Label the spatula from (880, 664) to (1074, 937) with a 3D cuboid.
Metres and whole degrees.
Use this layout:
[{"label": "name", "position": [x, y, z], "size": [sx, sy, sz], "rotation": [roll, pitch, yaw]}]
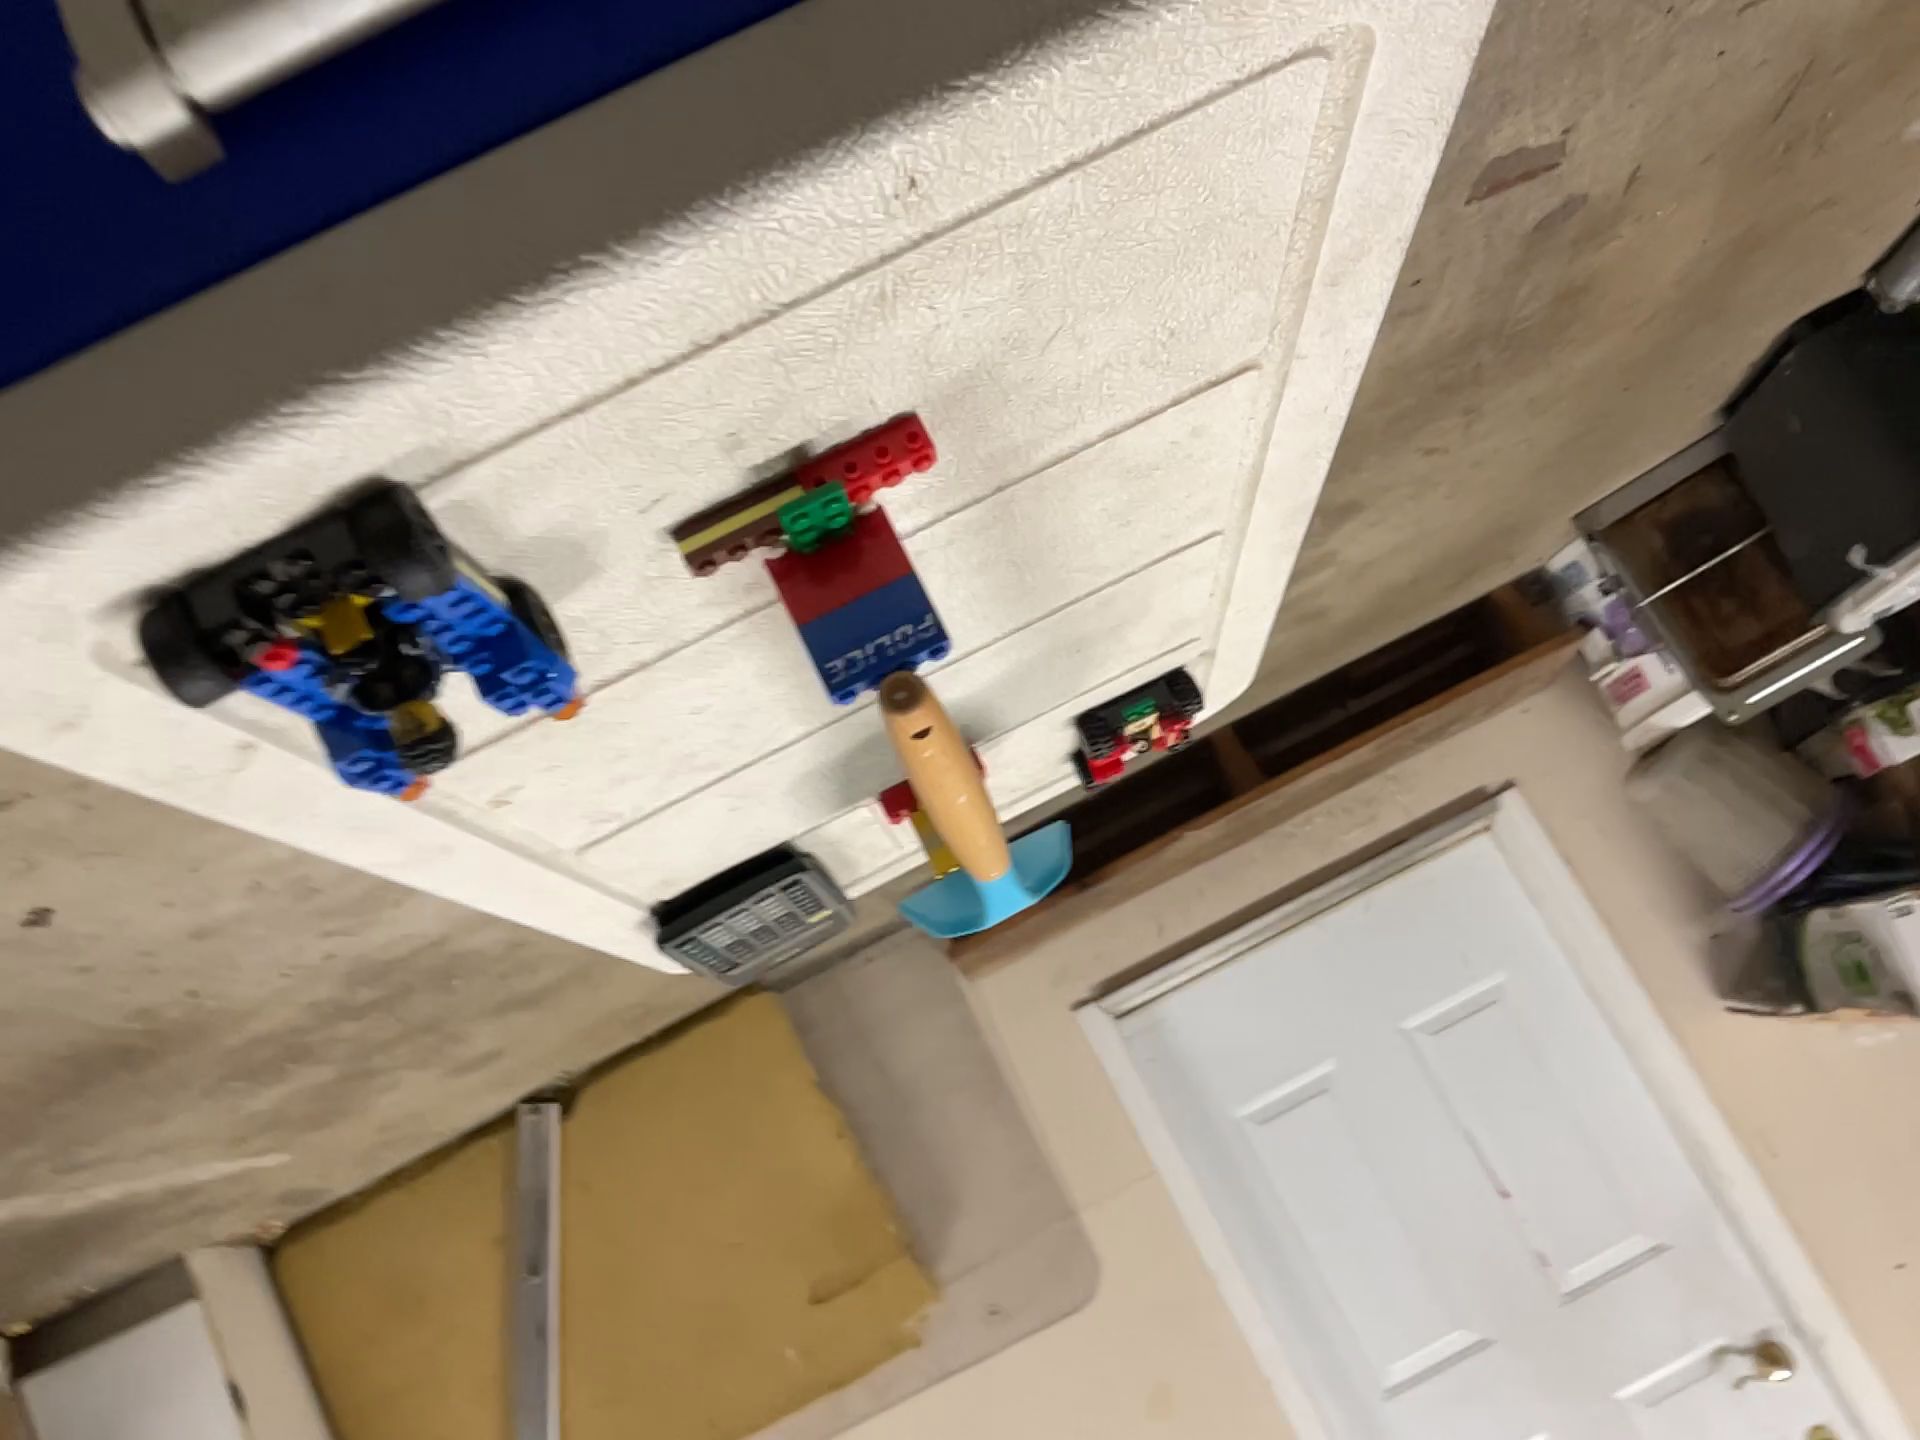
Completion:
[{"label": "spatula", "position": [0.000, 0.031, 0.519], "size": [0.082, 0.044, 0.317], "rotation": [-26, 162, -2]}]
